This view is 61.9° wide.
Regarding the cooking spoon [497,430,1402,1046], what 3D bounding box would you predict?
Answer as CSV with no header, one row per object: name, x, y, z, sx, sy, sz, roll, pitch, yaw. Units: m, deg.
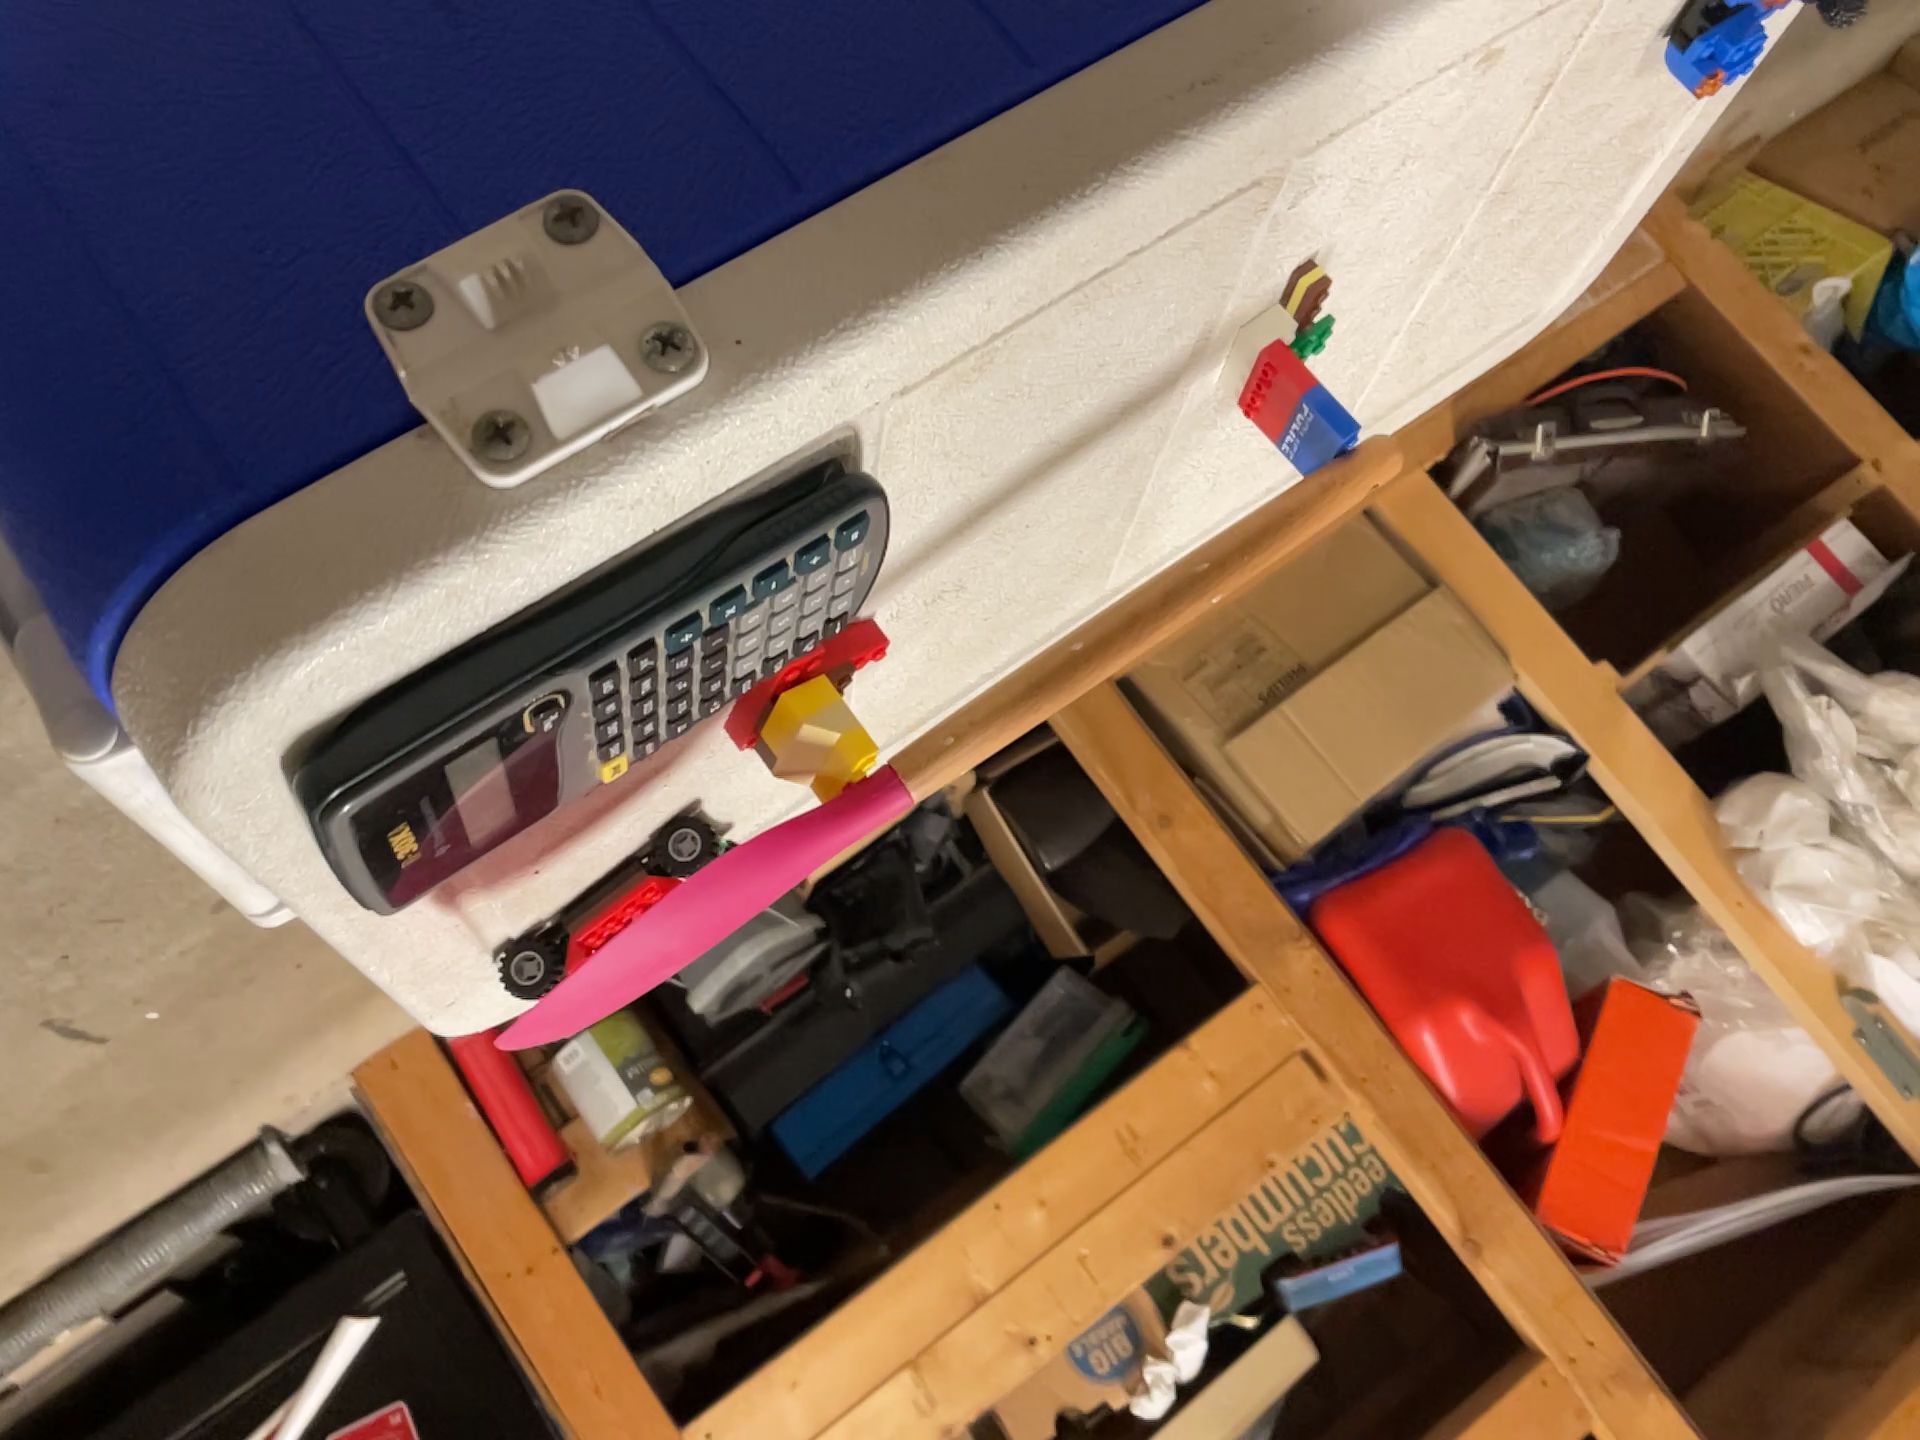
cooking spoon,0.003,0.004,0.473,0.319,0.017,0.068,-35,171,-8
